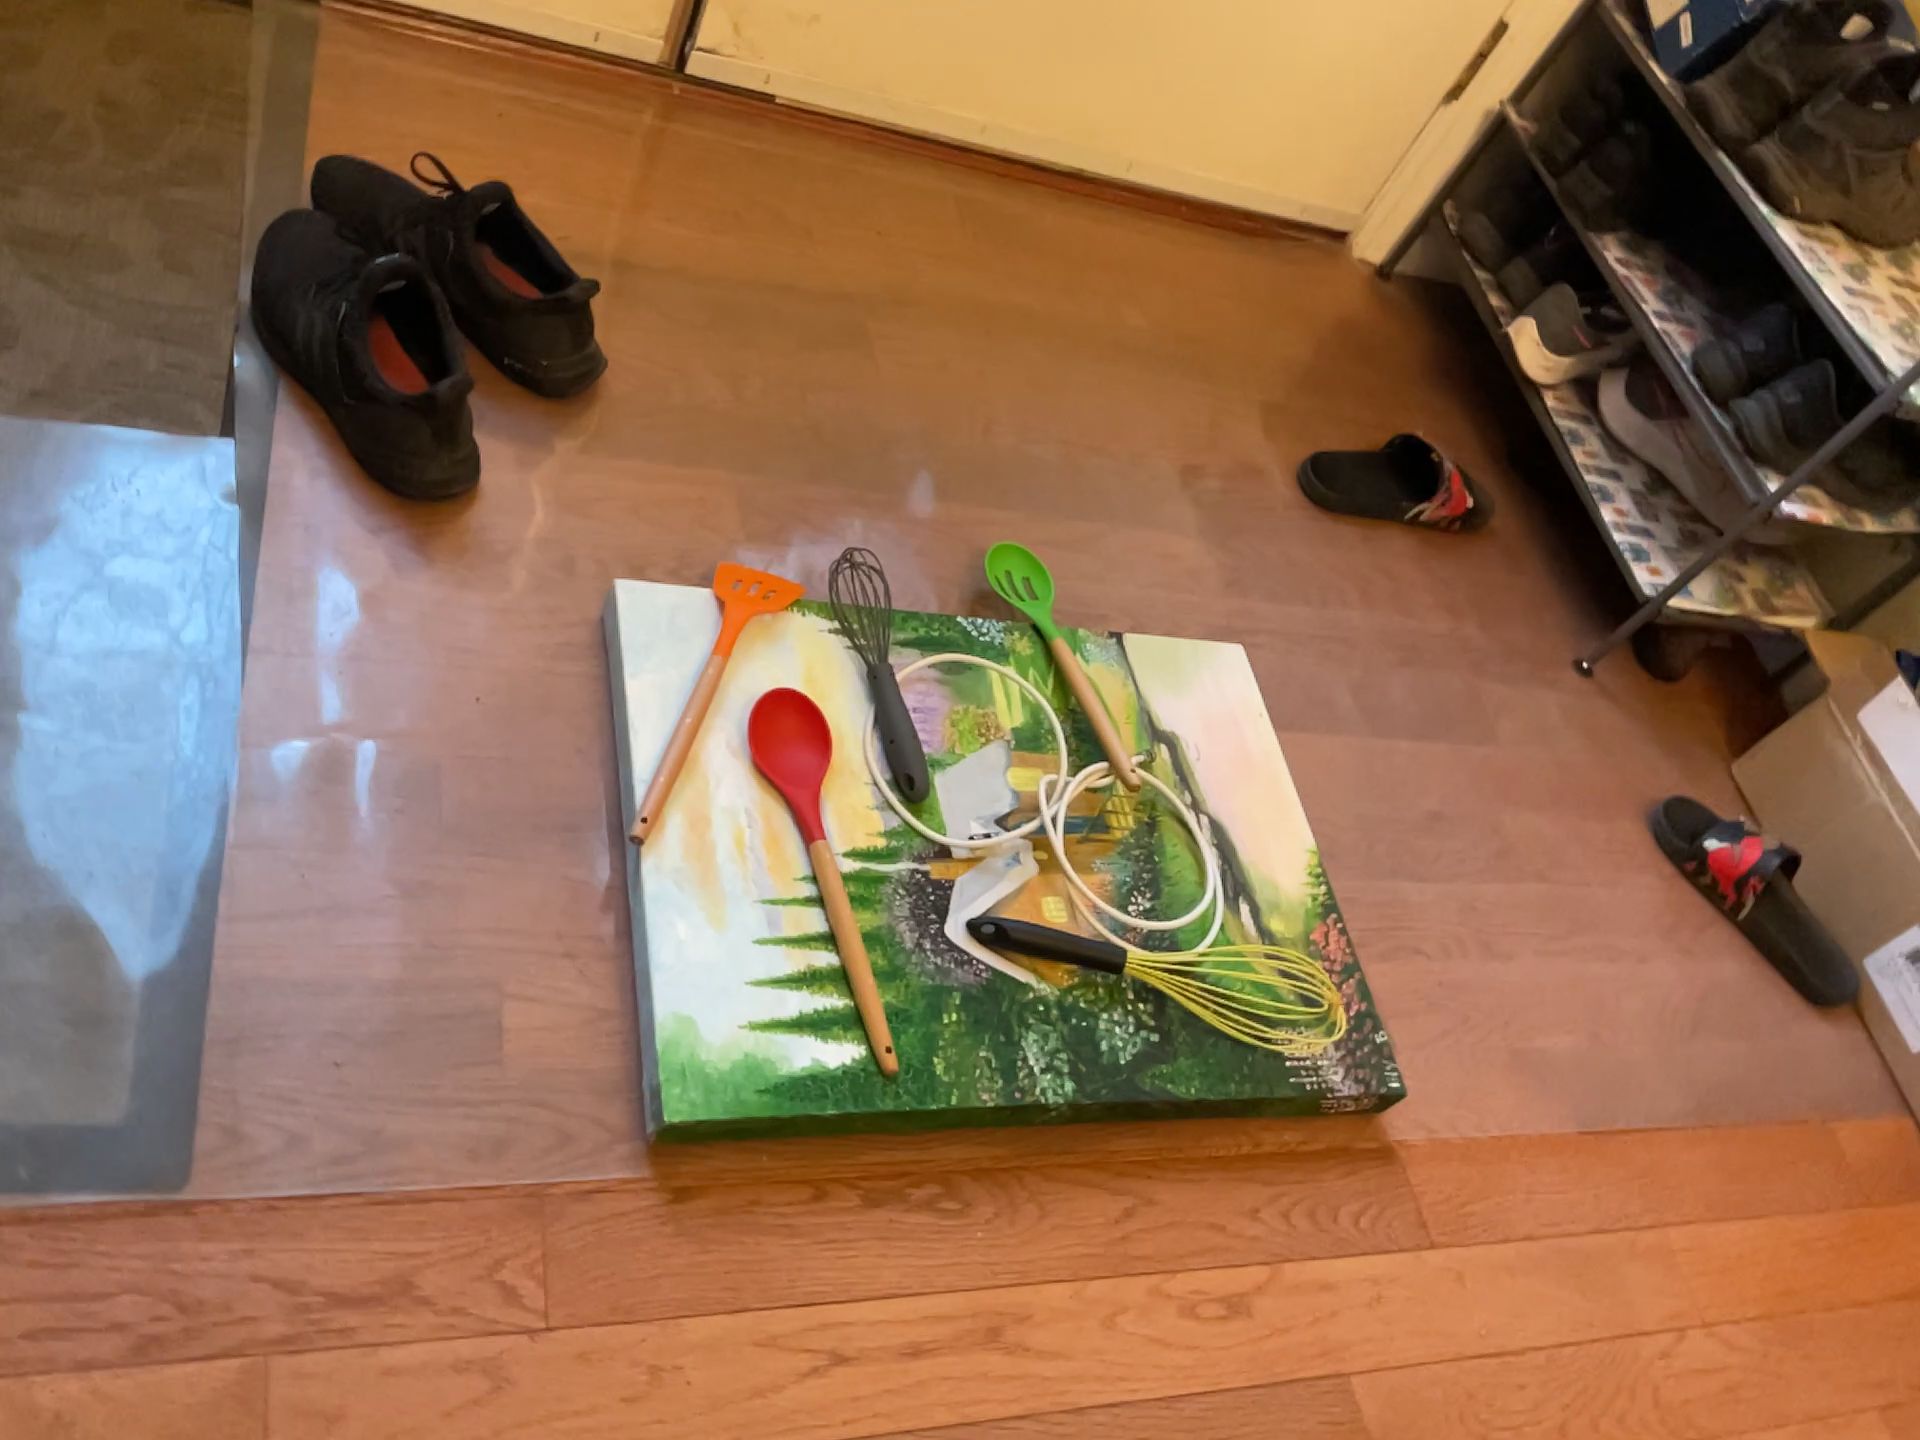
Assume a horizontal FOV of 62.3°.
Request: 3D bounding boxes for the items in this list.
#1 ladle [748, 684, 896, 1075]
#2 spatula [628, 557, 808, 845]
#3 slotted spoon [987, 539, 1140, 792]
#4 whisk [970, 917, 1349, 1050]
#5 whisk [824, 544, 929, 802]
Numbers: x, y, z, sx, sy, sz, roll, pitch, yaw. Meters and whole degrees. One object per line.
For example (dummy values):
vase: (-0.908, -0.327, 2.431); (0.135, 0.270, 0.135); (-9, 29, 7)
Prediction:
ladle: (-0.097, 0.113, 1.179); (0.069, 0.031, 0.316); (-4, 60, -29)
spatula: (-0.198, -0.025, 1.248); (0.081, 0.041, 0.323); (17, 49, -1)
slotted spoon: (0.092, -0.052, 1.402); (0.070, 0.031, 0.314); (2, 42, -27)
whisk: (0.155, 0.195, 1.235); (0.311, 0.067, 0.080); (15, 44, -10)
whisk: (-0.064, -0.041, 1.306); (0.055, 0.055, 0.239); (-8, 65, -21)
